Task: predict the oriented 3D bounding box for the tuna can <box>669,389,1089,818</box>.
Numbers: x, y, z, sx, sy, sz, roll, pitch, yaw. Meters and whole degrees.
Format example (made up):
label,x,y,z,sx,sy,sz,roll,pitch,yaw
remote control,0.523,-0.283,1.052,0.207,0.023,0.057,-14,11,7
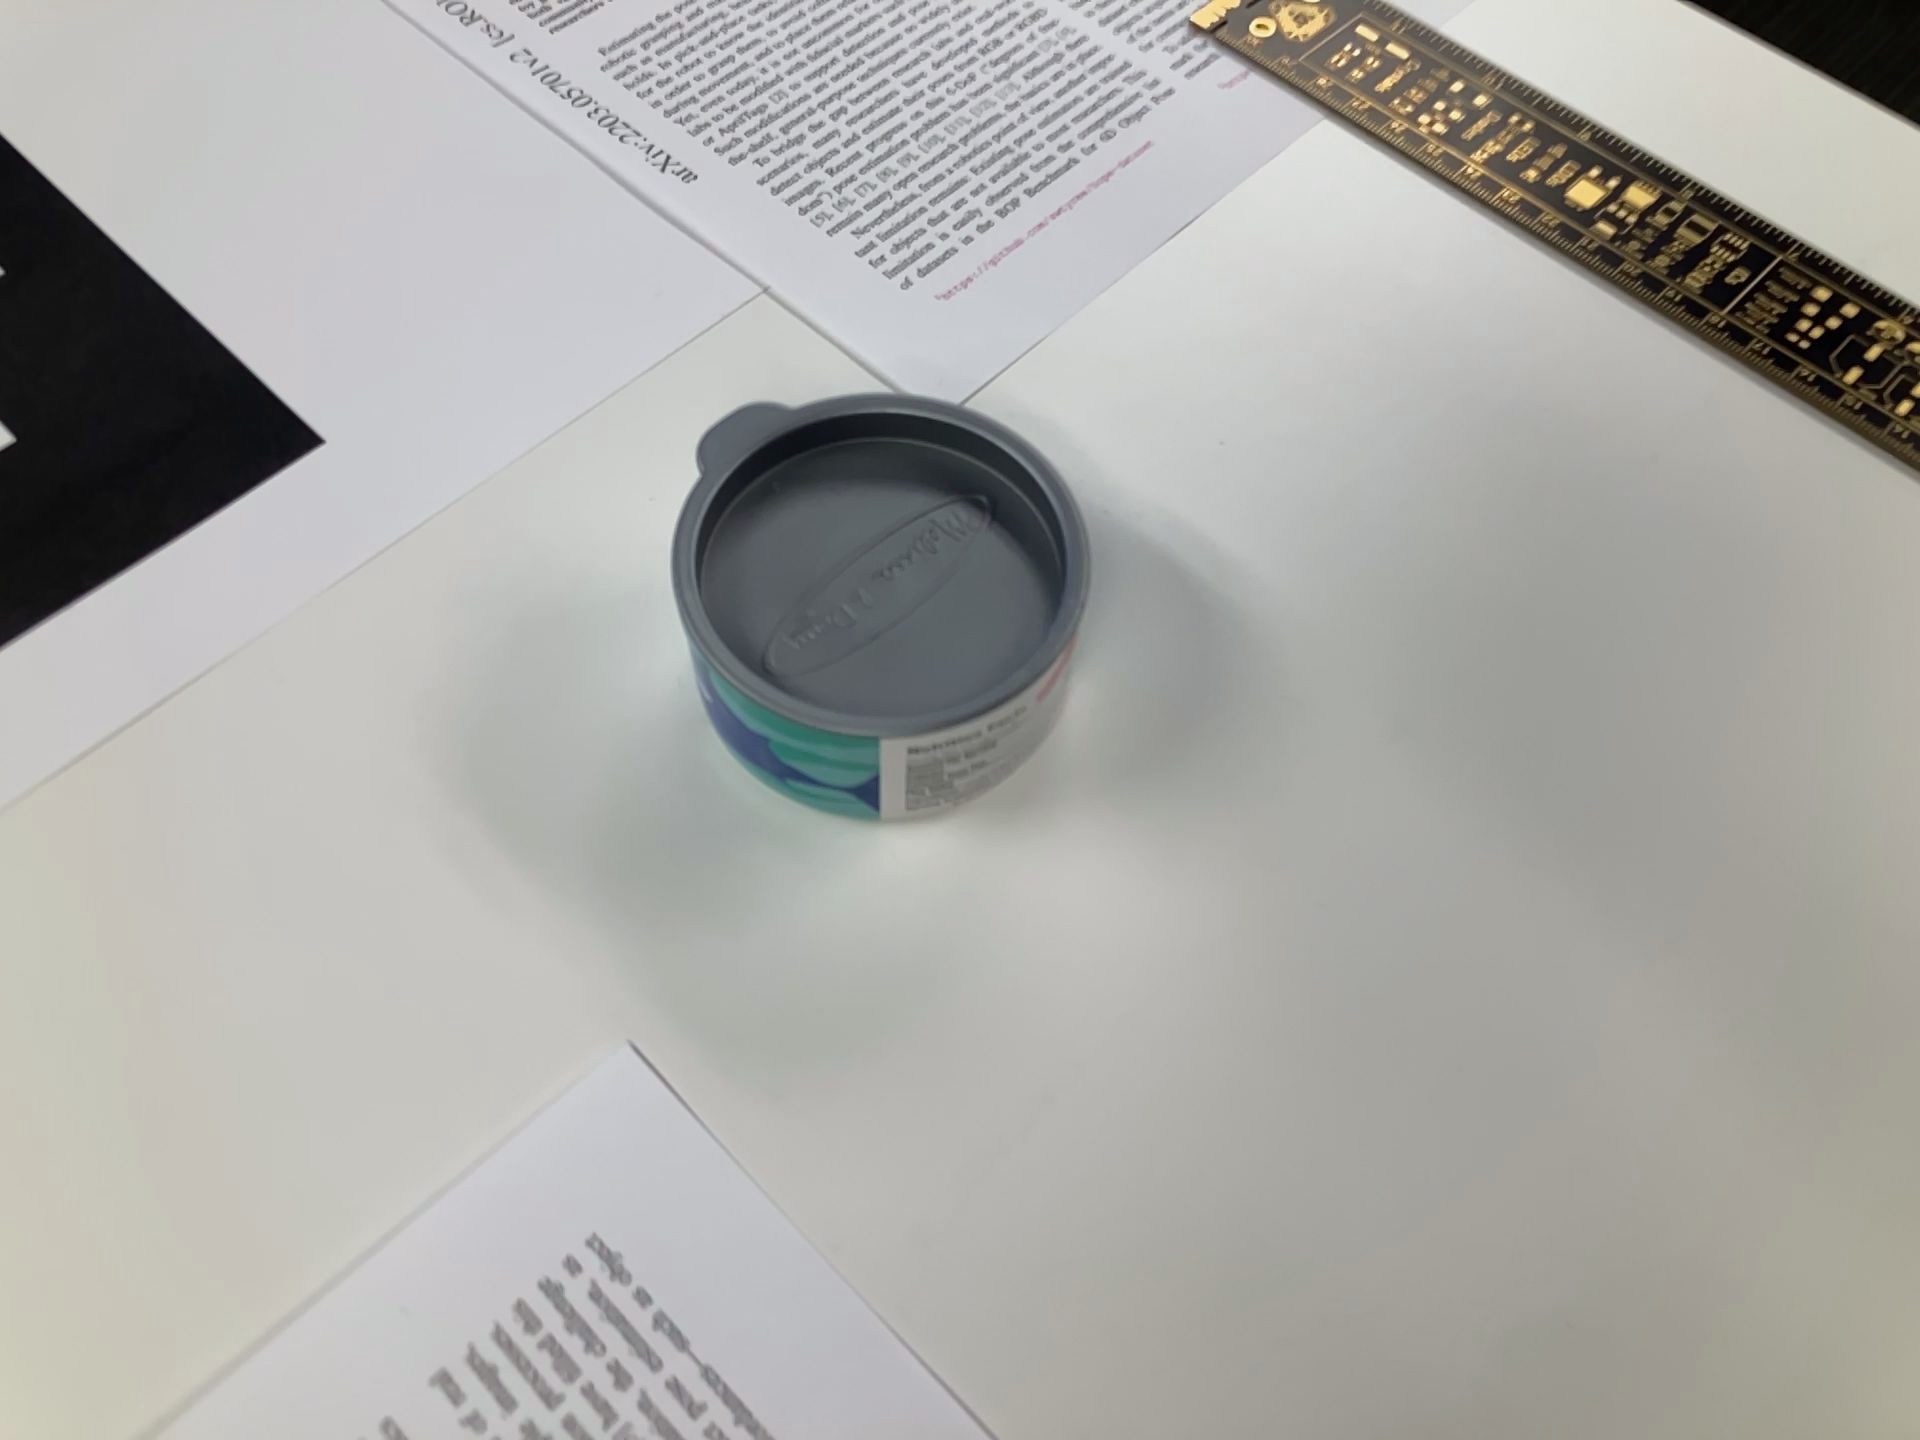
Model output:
label,x,y,z,sx,sy,sz,roll,pitch,yaw
tuna can,-0.015,-0.021,0.263,0.071,0.033,0.071,1,60,-1
